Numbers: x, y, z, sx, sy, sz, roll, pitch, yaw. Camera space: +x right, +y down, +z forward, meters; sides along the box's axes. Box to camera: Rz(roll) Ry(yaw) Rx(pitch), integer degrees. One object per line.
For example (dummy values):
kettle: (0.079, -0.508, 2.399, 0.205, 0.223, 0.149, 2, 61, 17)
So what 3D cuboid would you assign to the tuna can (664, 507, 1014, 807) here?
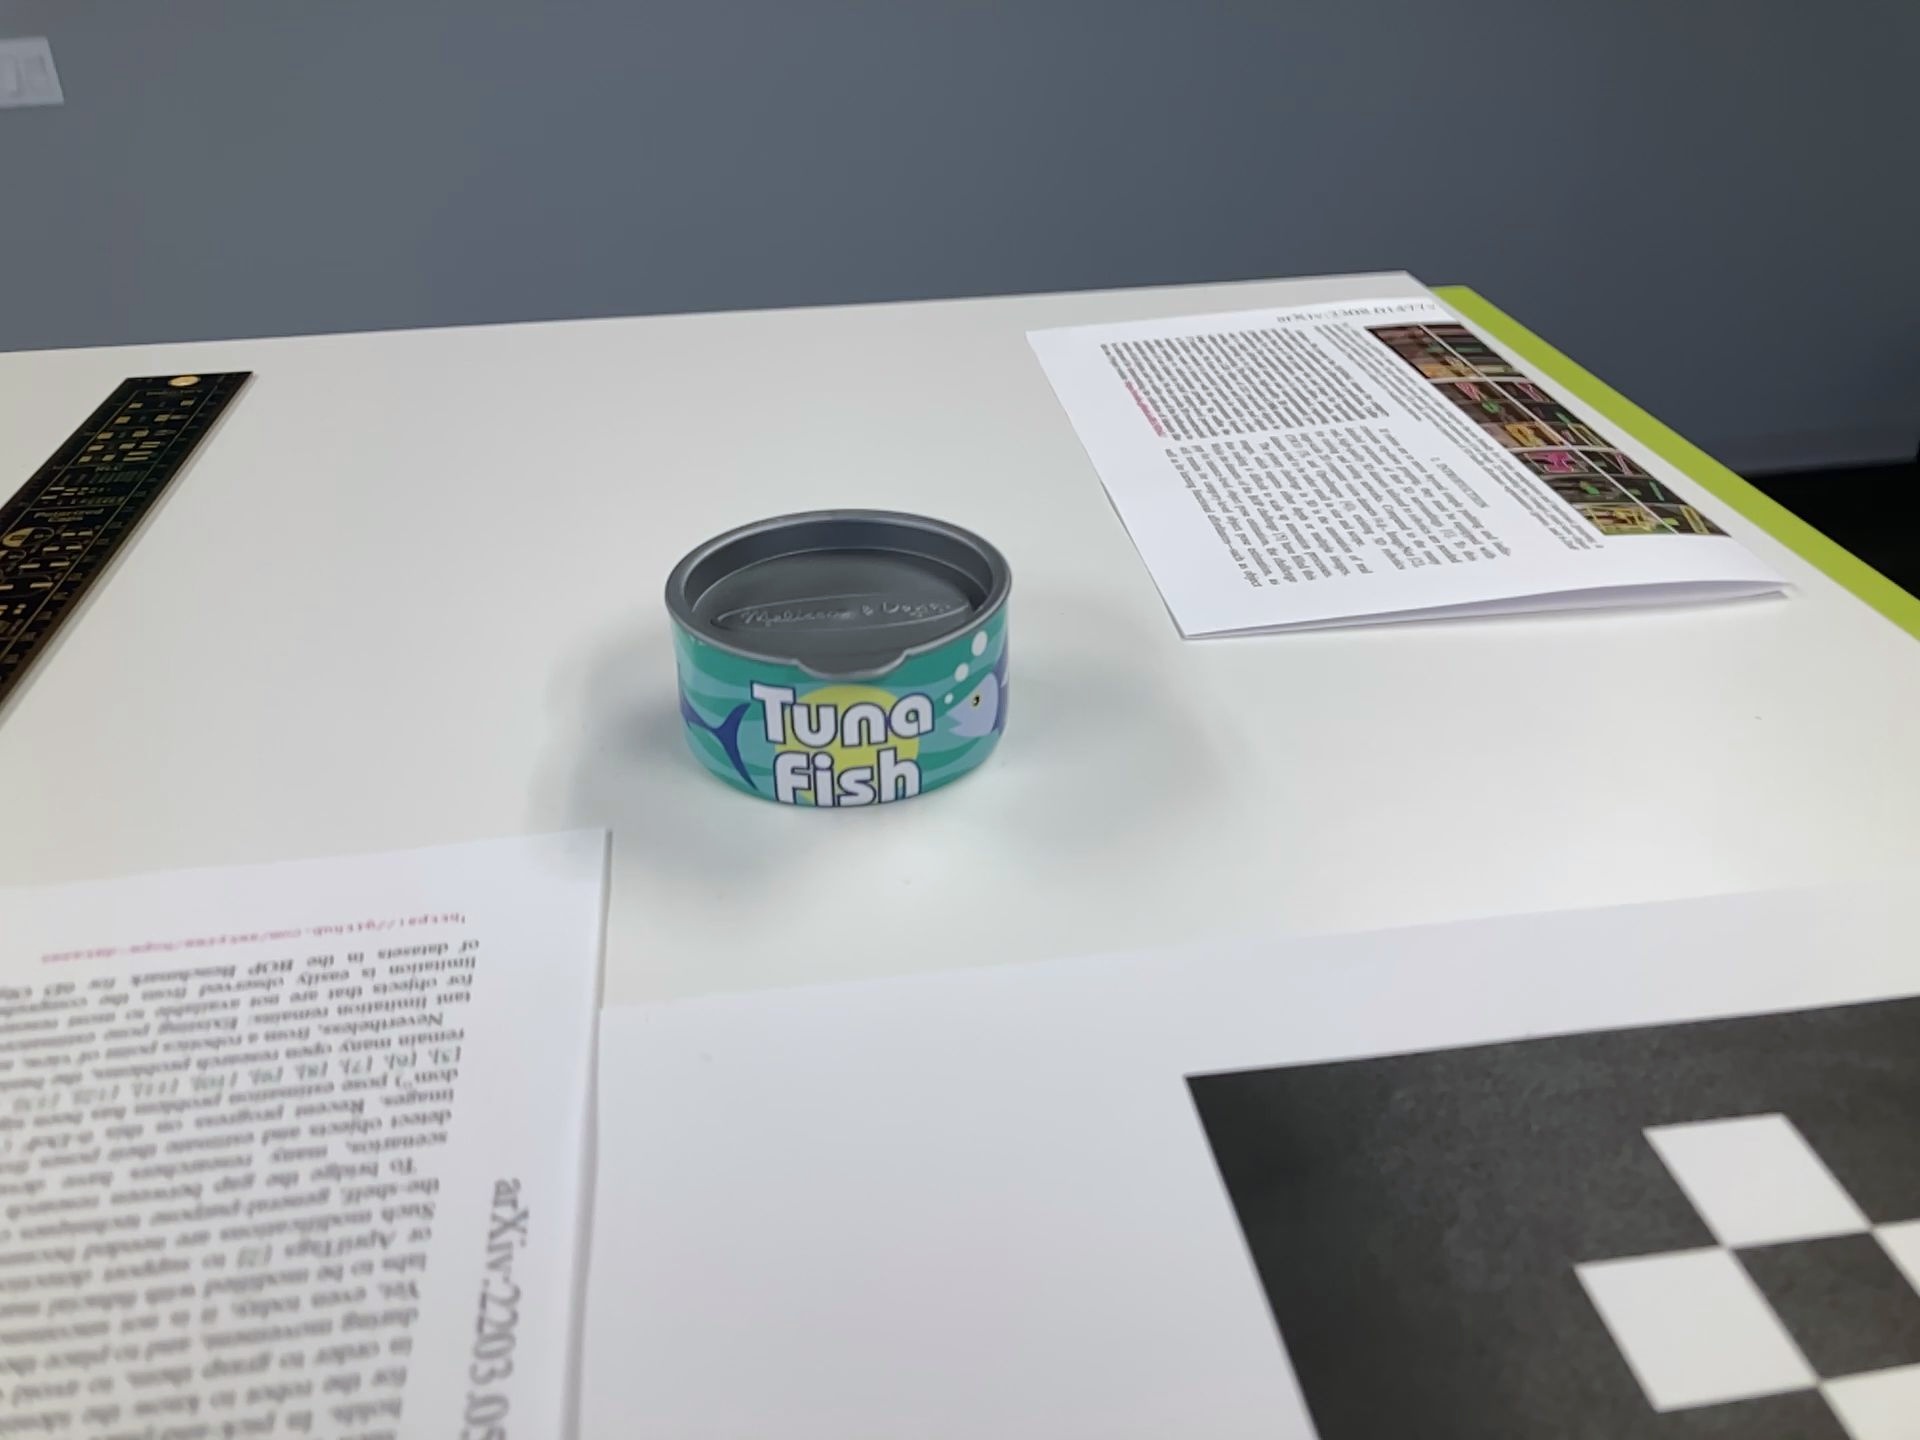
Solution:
tuna can: (-0.022, -0.013, 0.307, 0.071, 0.033, 0.071, 0, 31, 0)
